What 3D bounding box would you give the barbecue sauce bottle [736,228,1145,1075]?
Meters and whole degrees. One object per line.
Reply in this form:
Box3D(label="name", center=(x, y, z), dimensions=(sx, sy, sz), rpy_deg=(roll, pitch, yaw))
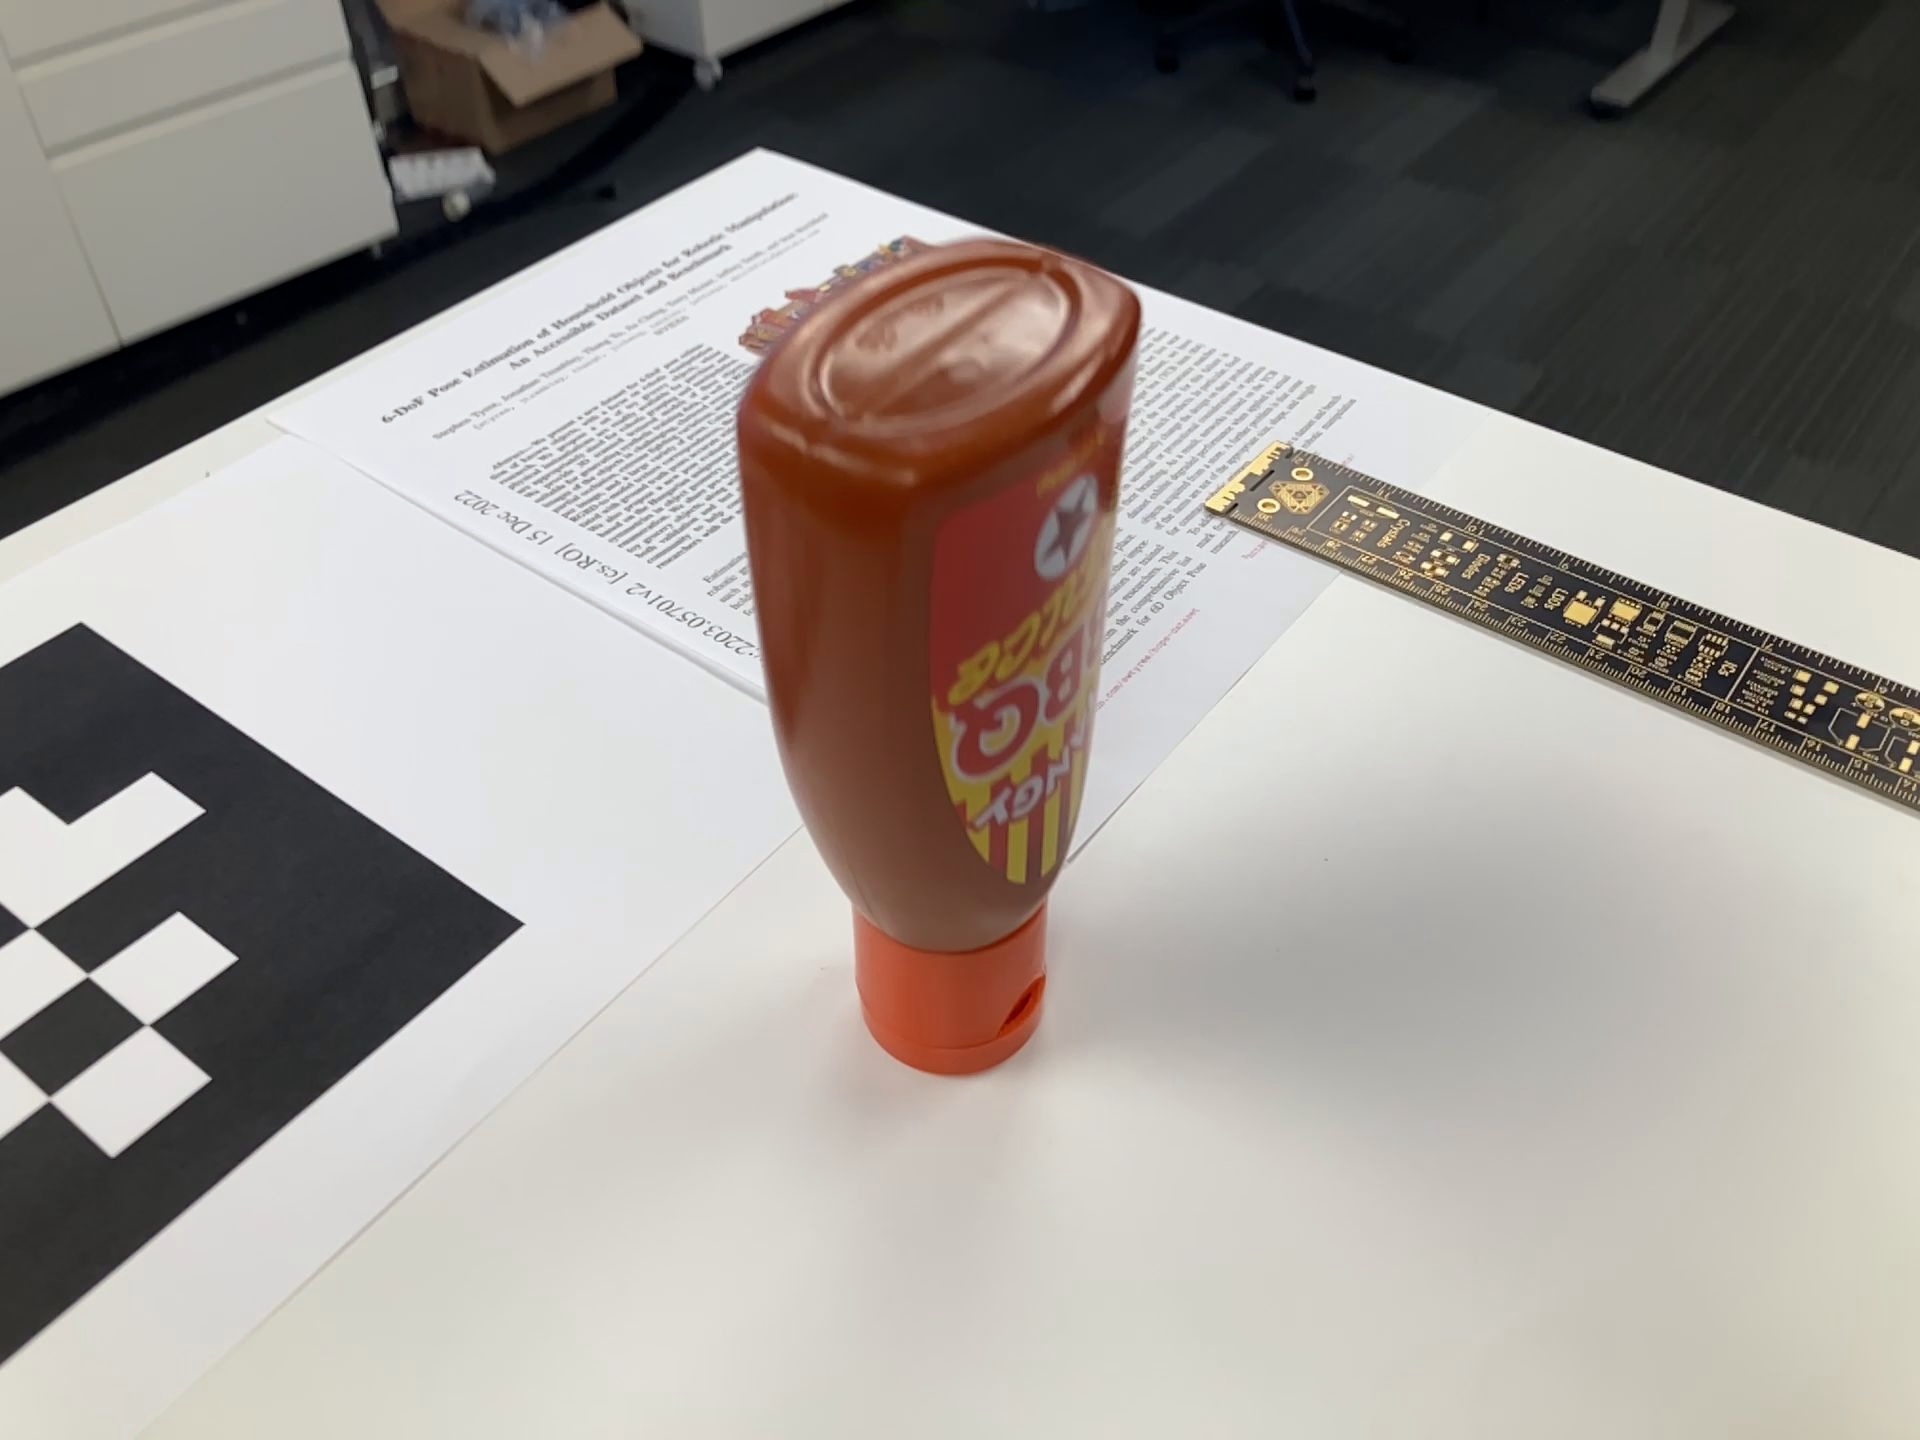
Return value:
Box3D(label="barbecue sauce bottle", center=(-0.002, 0.001, 0.259), dimensions=(0.043, 0.148, 0.065), rpy_deg=(26, 49, 24))
